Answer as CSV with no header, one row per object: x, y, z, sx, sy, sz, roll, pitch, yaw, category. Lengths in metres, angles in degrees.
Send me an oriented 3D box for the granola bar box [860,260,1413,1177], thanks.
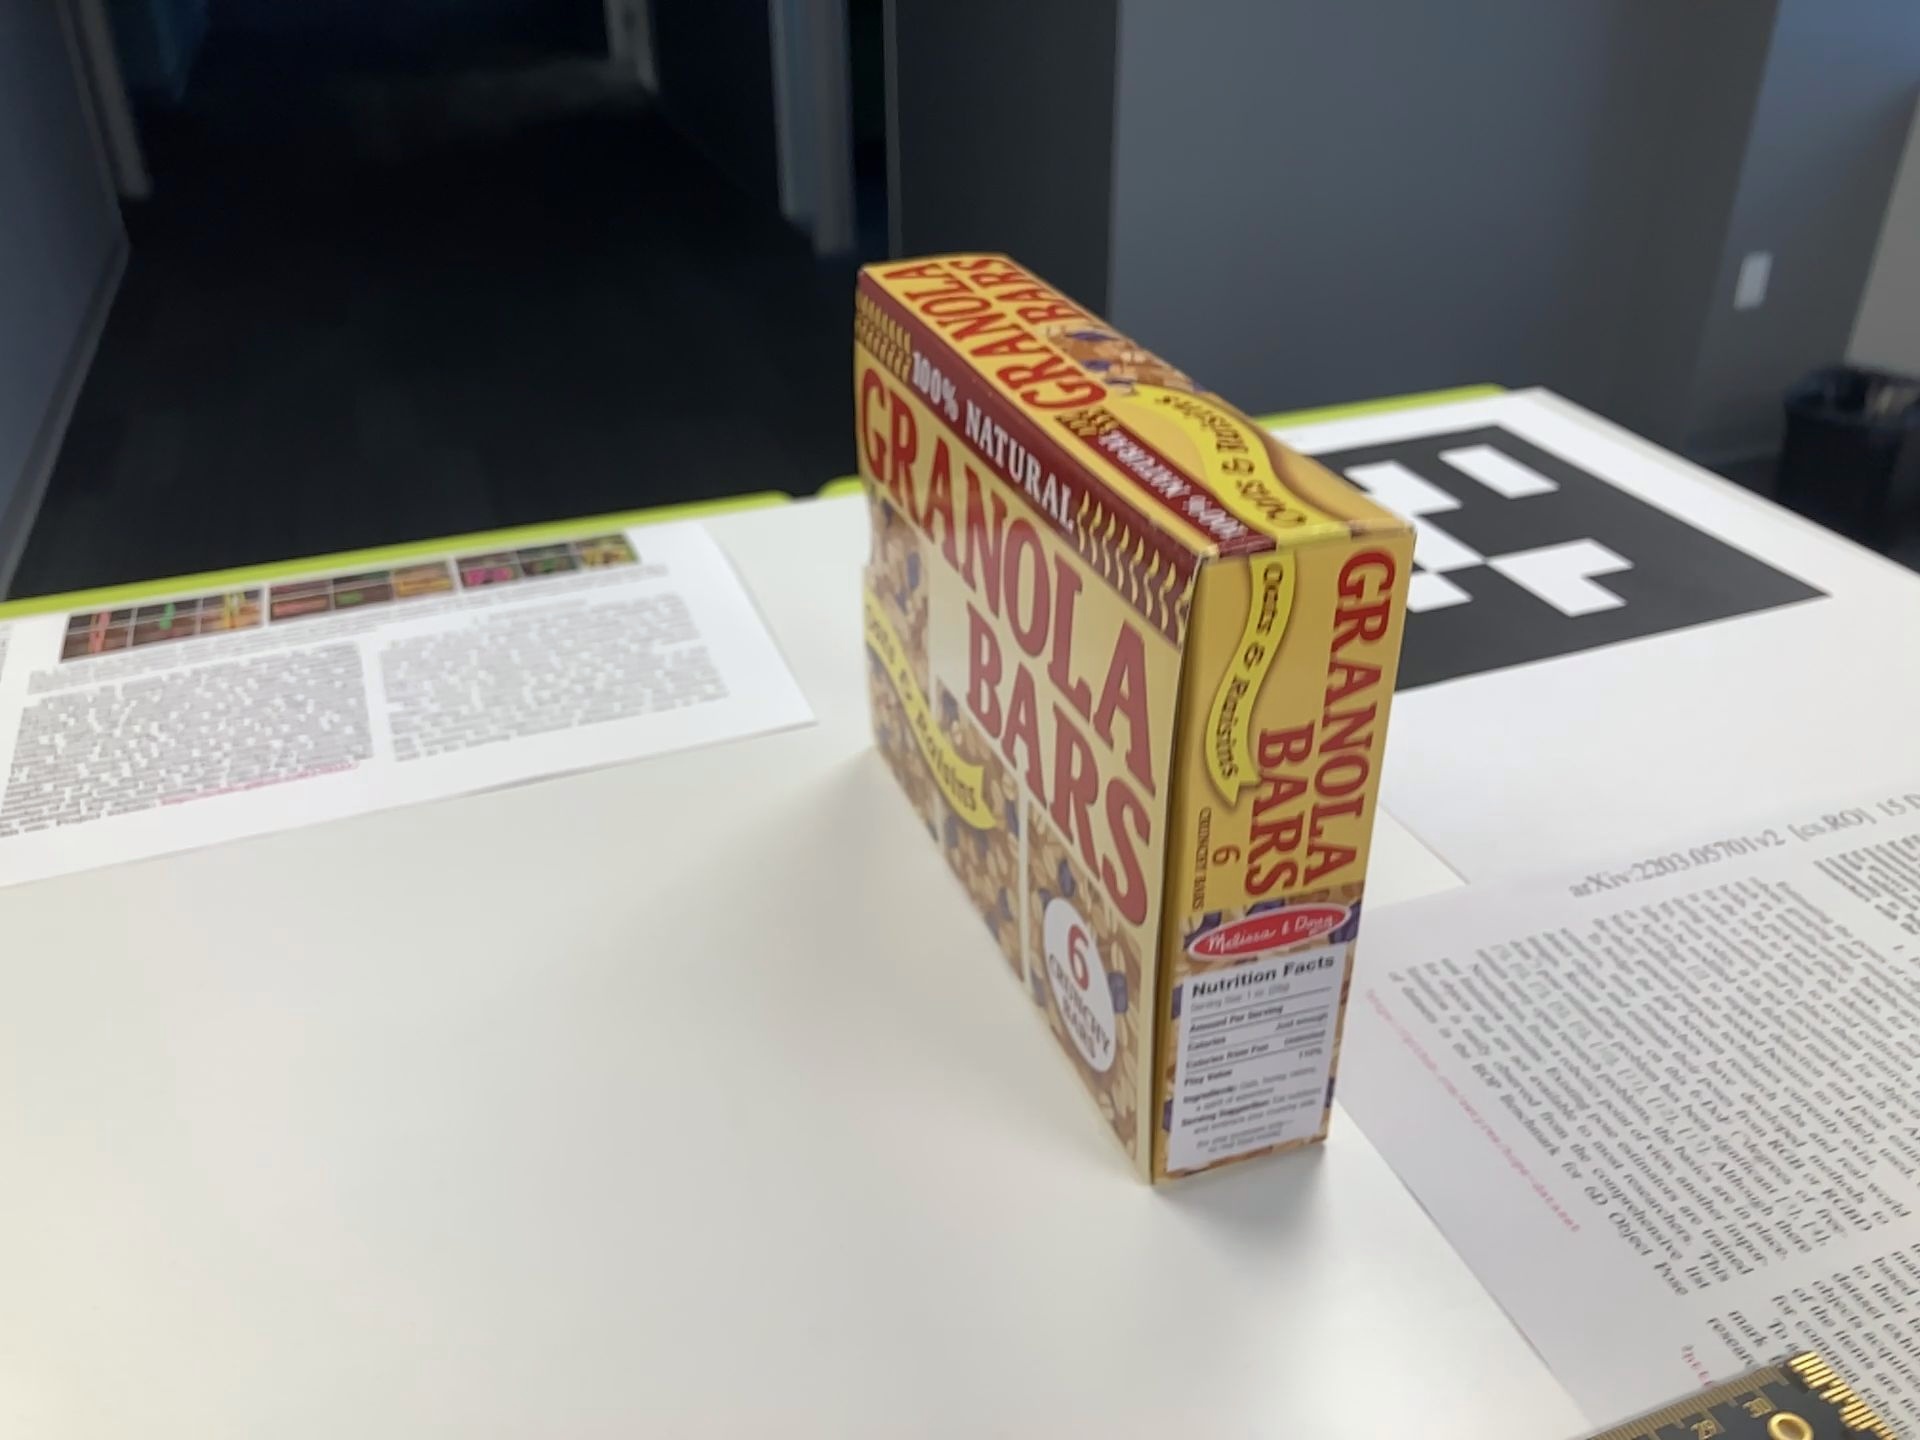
0.021,-0.012,0.328,0.039,0.124,0.165,-10,32,-18,granola bar box
